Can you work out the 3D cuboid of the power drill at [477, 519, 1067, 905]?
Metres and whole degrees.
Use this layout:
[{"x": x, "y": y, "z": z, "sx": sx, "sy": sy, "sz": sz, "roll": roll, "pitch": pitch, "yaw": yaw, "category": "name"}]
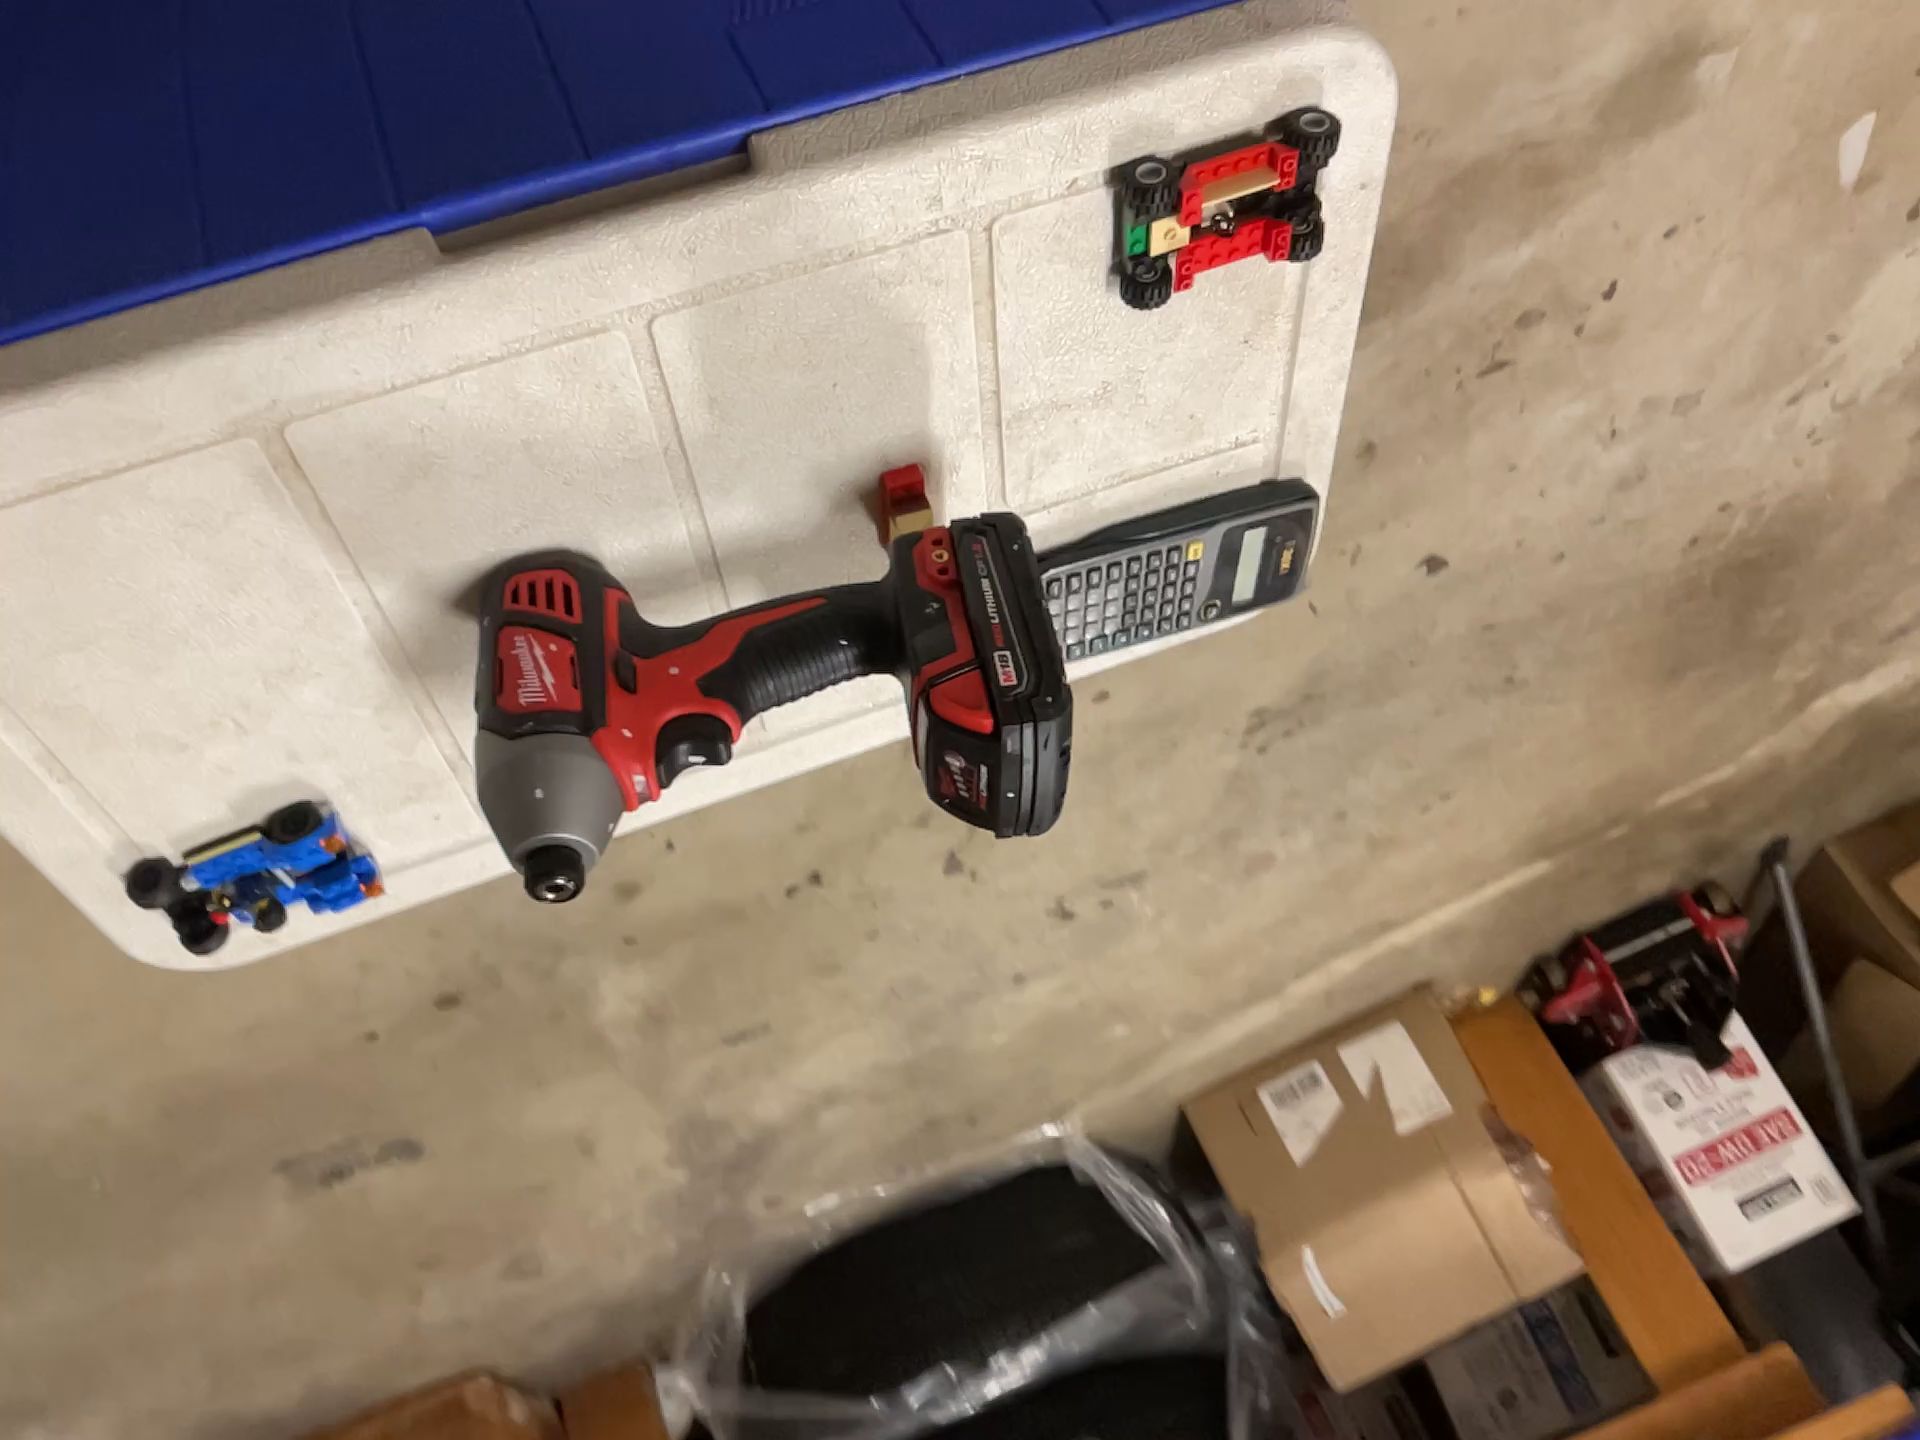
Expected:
[{"x": -0.075, "y": -0.003, "z": 0.617, "sx": 0.219, "sy": 0.143, "sz": 0.078, "roll": -6, "pitch": 143, "yaw": -5, "category": "power drill"}]
